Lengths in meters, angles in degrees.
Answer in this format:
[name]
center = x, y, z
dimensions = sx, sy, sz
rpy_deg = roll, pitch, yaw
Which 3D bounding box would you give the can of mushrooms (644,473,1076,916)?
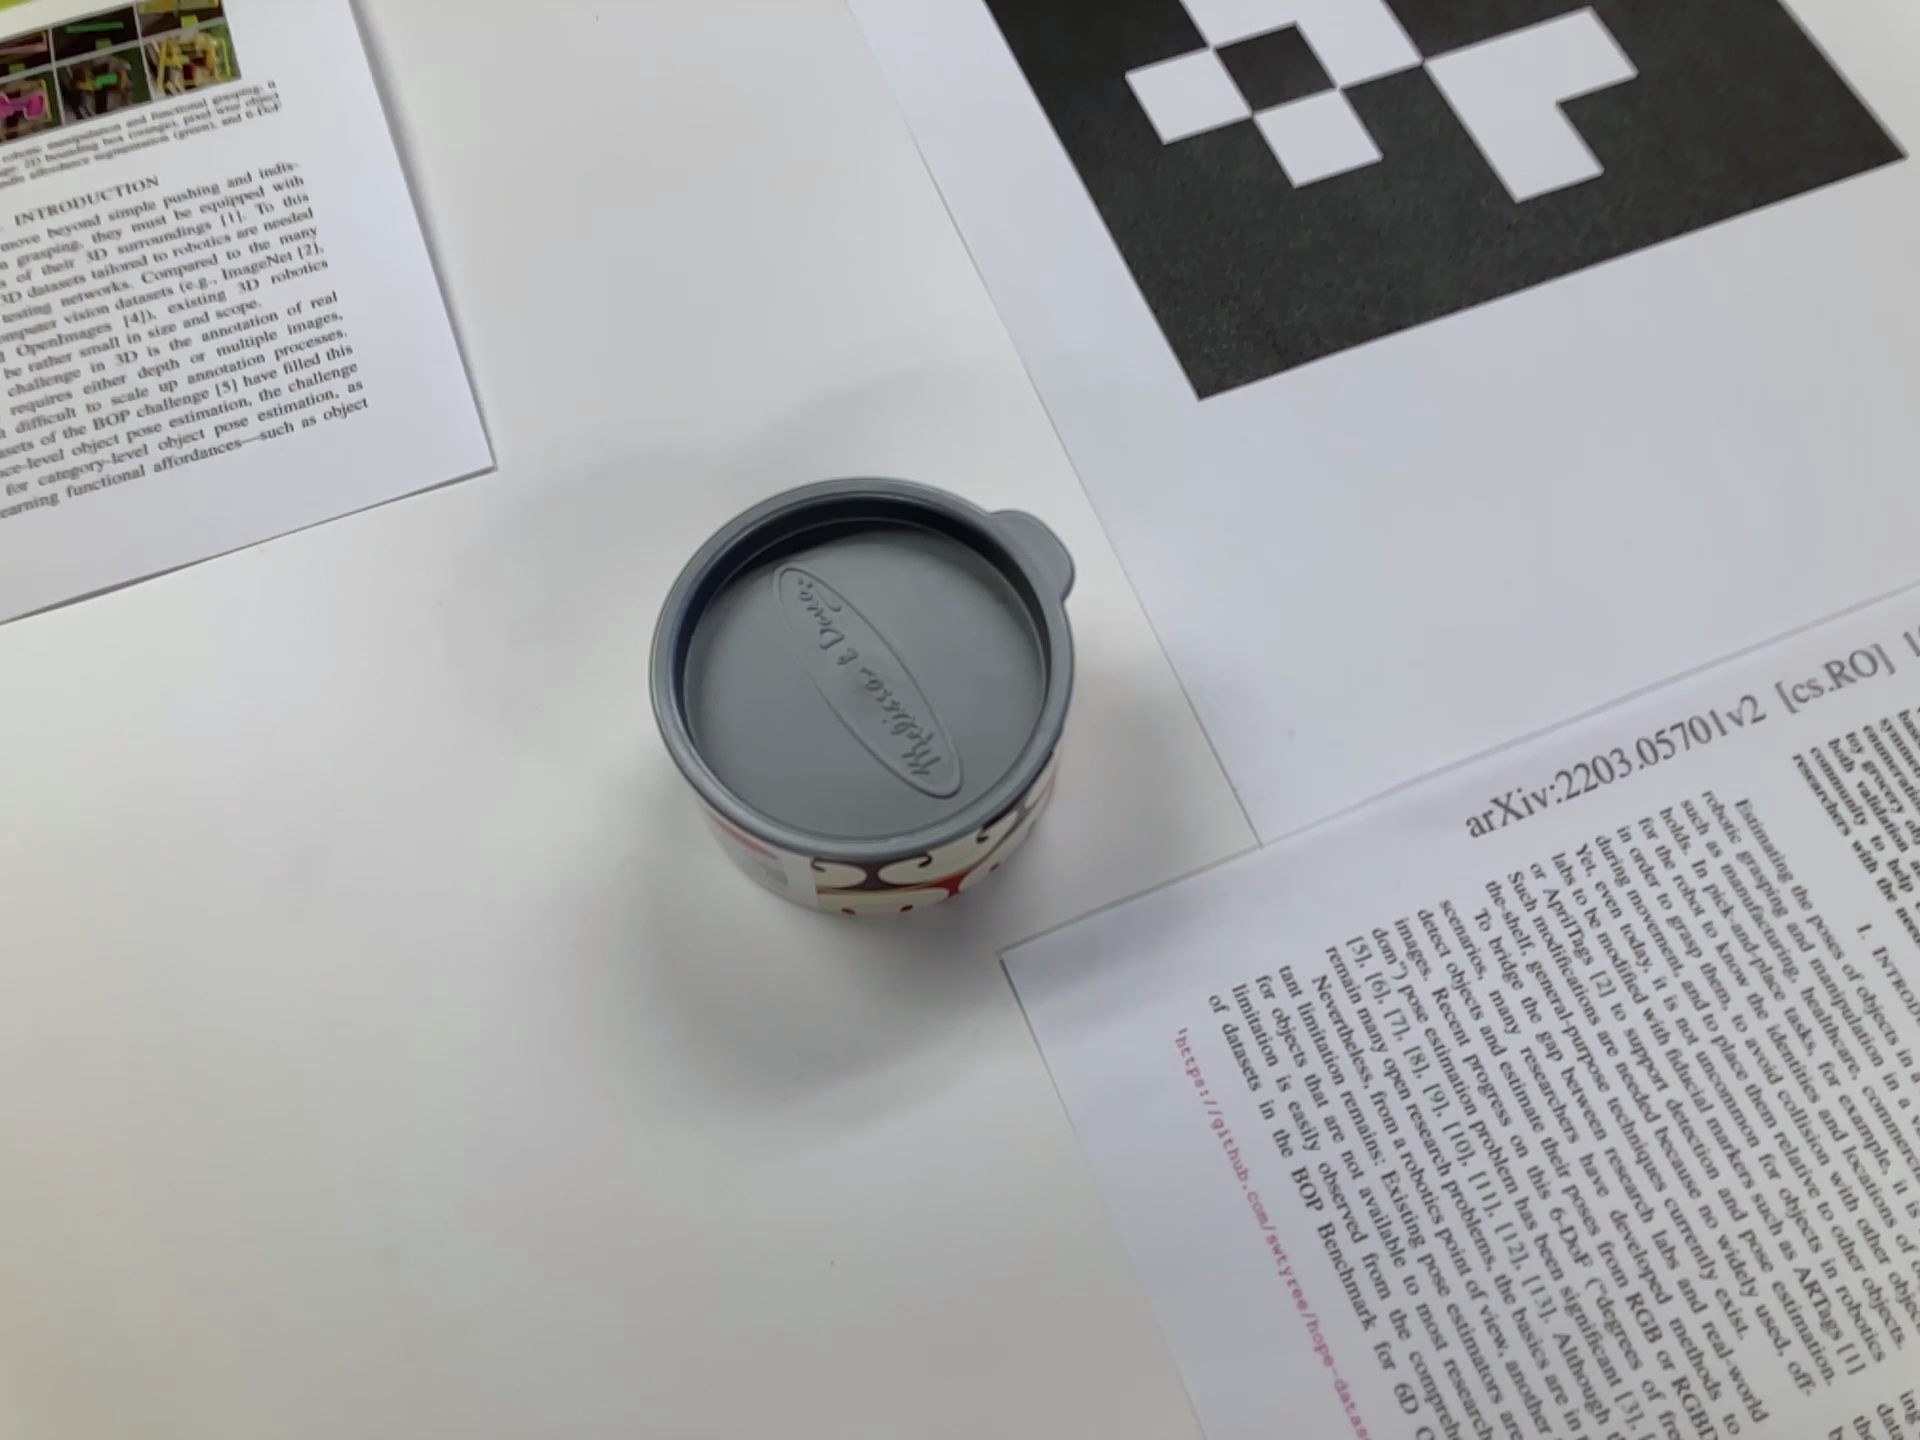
[can of mushrooms]
center = -0.013, -0.005, 0.259
dimensions = 0.071, 0.033, 0.071
rpy_deg = 0, 66, 0
